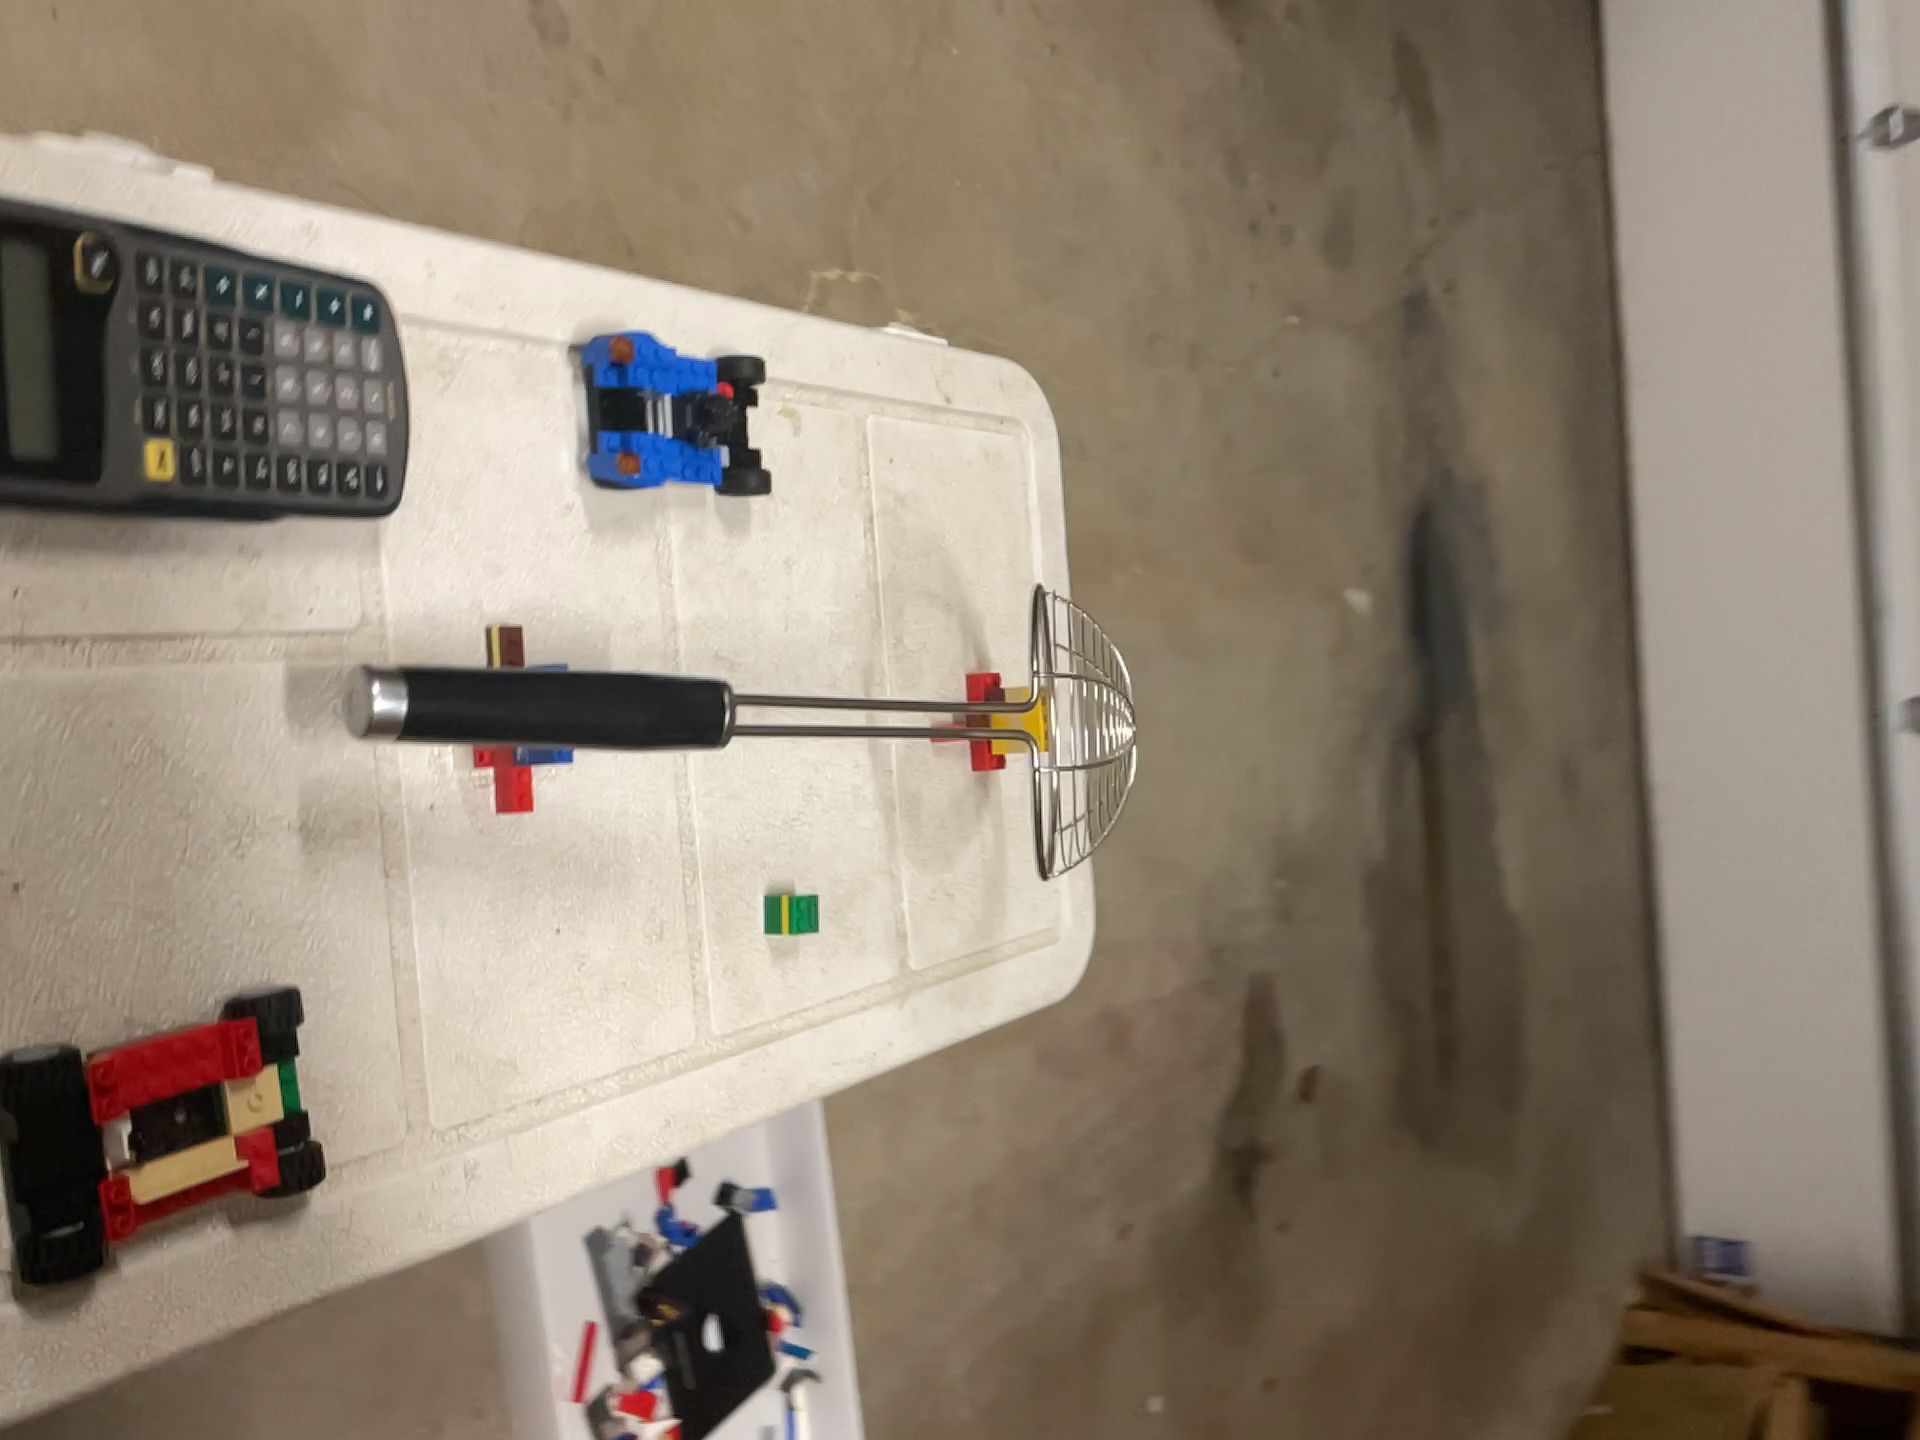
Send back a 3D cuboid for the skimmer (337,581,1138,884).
[{"bbox_3d":[-0.057,0.002,0.587,0.363,0.090,0.127,2,86,-43],"label":"skimmer"}]
